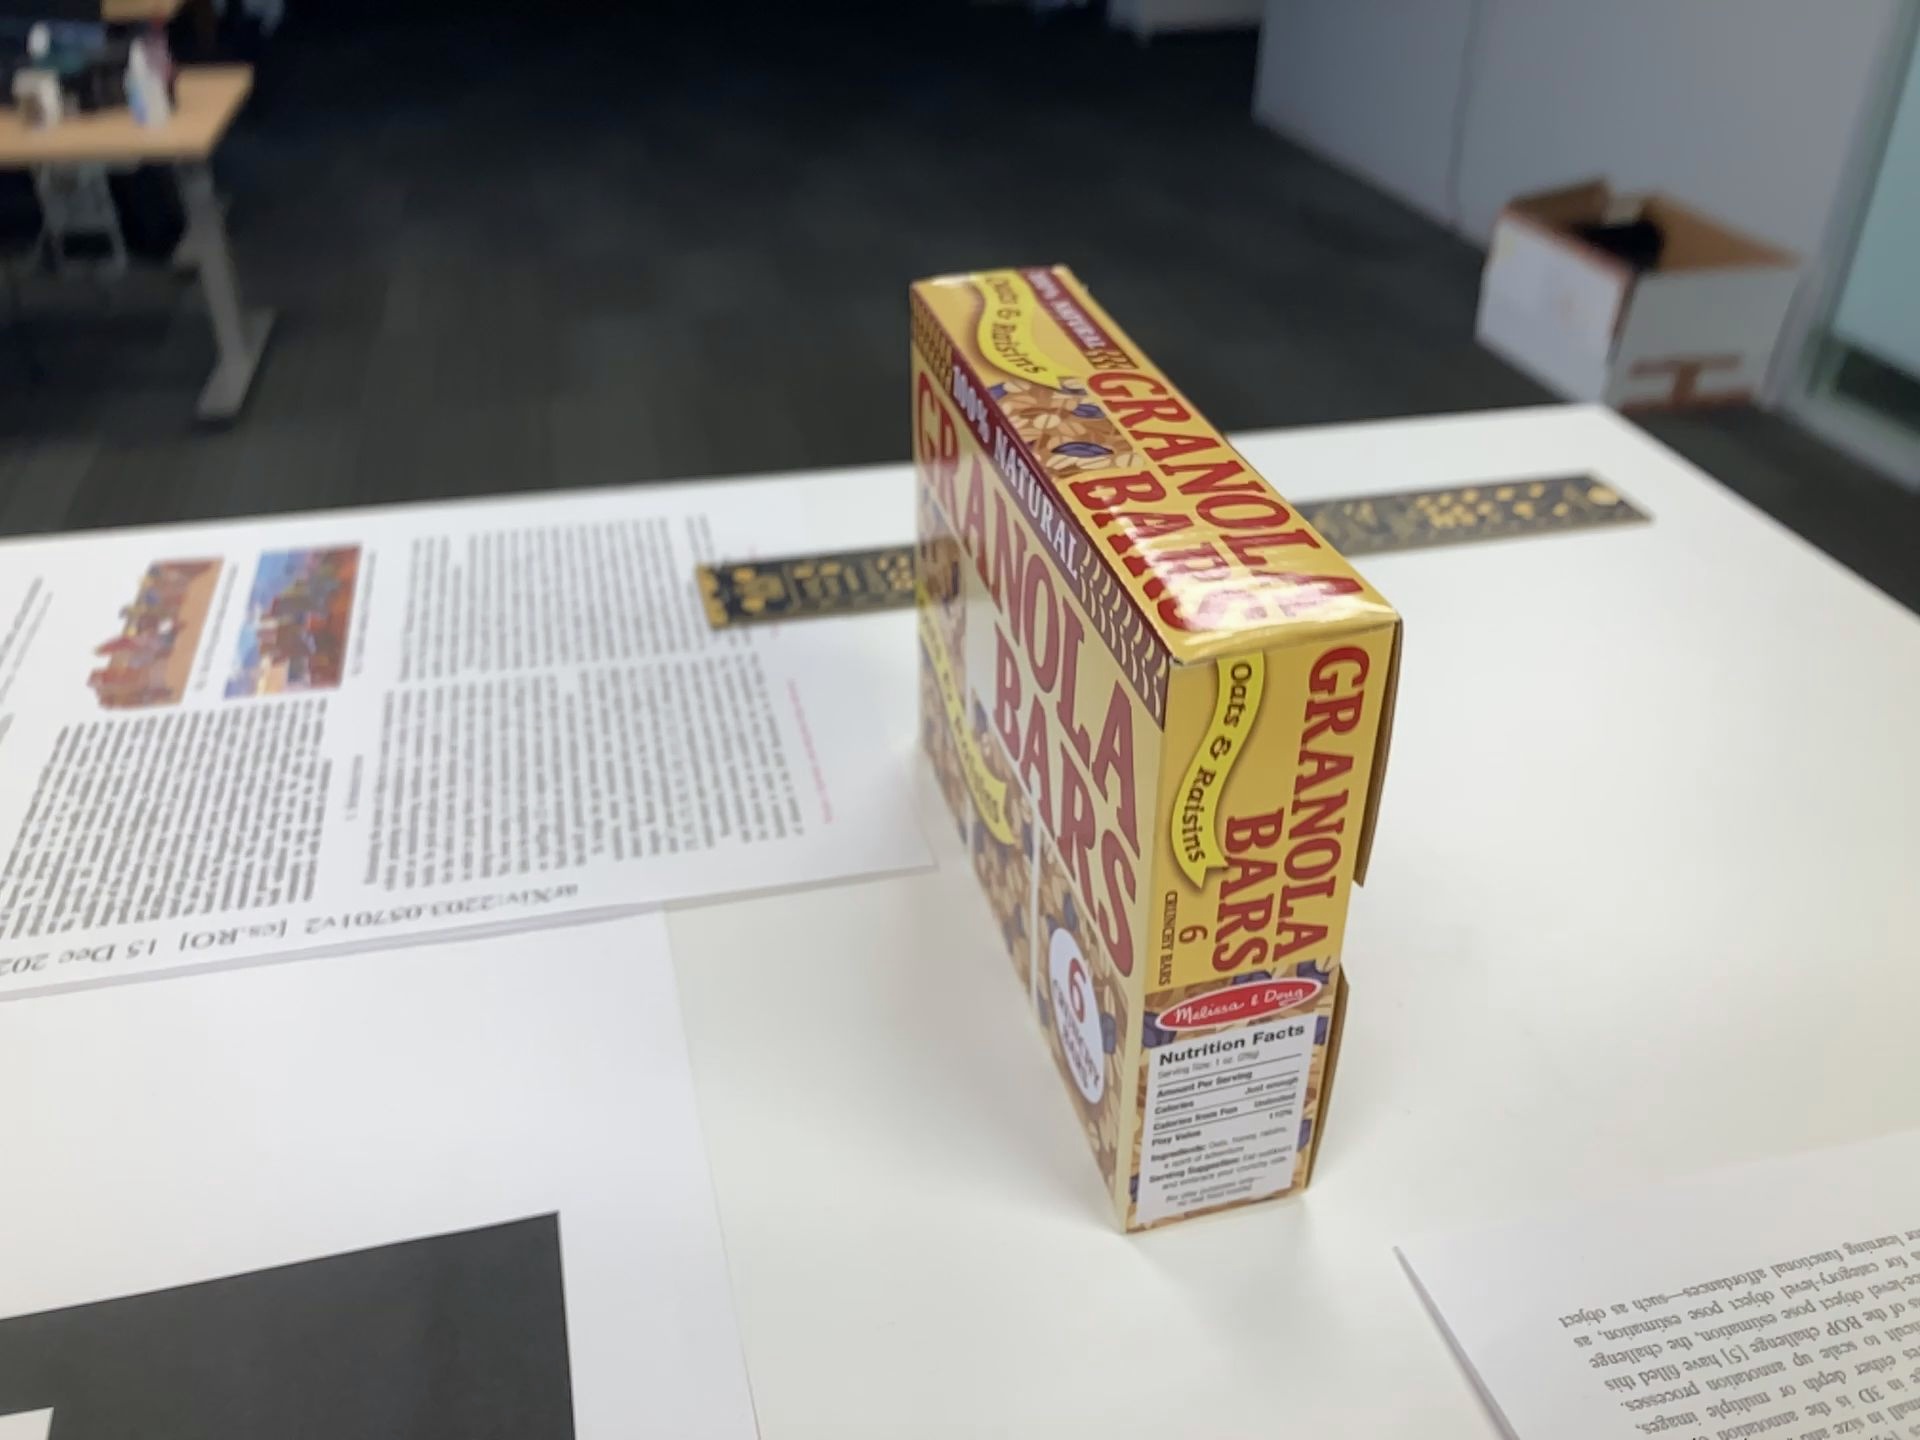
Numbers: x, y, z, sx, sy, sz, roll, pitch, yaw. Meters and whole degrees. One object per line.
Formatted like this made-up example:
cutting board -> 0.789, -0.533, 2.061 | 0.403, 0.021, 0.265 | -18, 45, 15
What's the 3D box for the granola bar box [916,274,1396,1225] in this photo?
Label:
granola bar box -> 0.028, -0.005, 0.327 | 0.039, 0.124, 0.165 | -8, 34, -11
